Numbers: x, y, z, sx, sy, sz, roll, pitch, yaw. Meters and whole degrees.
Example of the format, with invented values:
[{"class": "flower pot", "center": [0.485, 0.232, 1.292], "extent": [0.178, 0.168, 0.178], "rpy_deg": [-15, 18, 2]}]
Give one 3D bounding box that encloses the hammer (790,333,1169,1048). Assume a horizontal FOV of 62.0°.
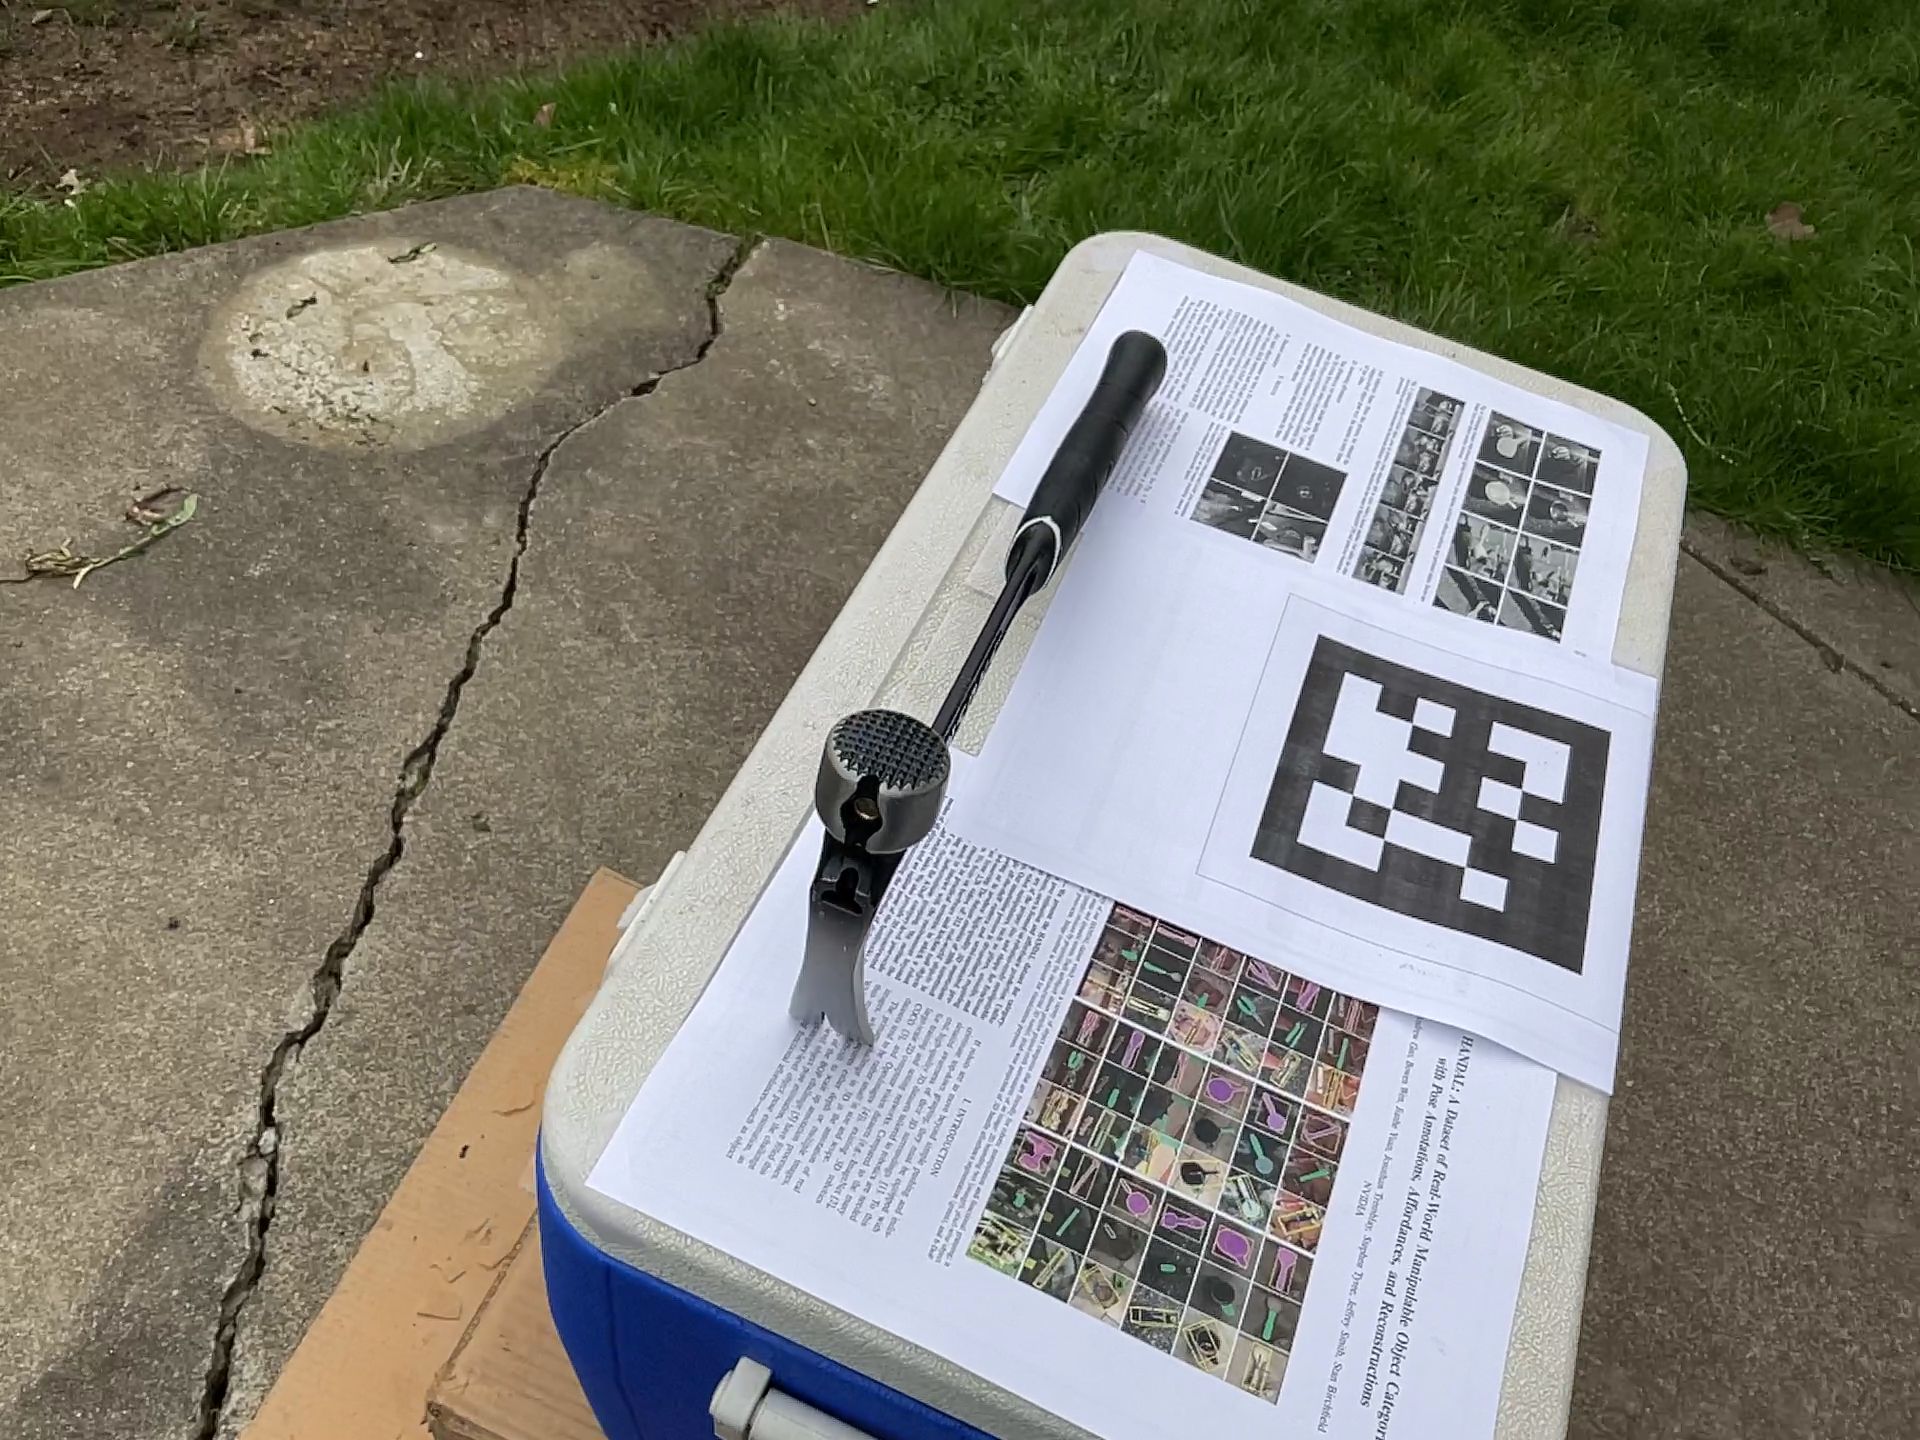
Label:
[{"class": "hammer", "center": [0.024, -0.048, 0.624], "extent": [0.036, 0.149, 0.409], "rpy_deg": [21, 41, 6]}]
